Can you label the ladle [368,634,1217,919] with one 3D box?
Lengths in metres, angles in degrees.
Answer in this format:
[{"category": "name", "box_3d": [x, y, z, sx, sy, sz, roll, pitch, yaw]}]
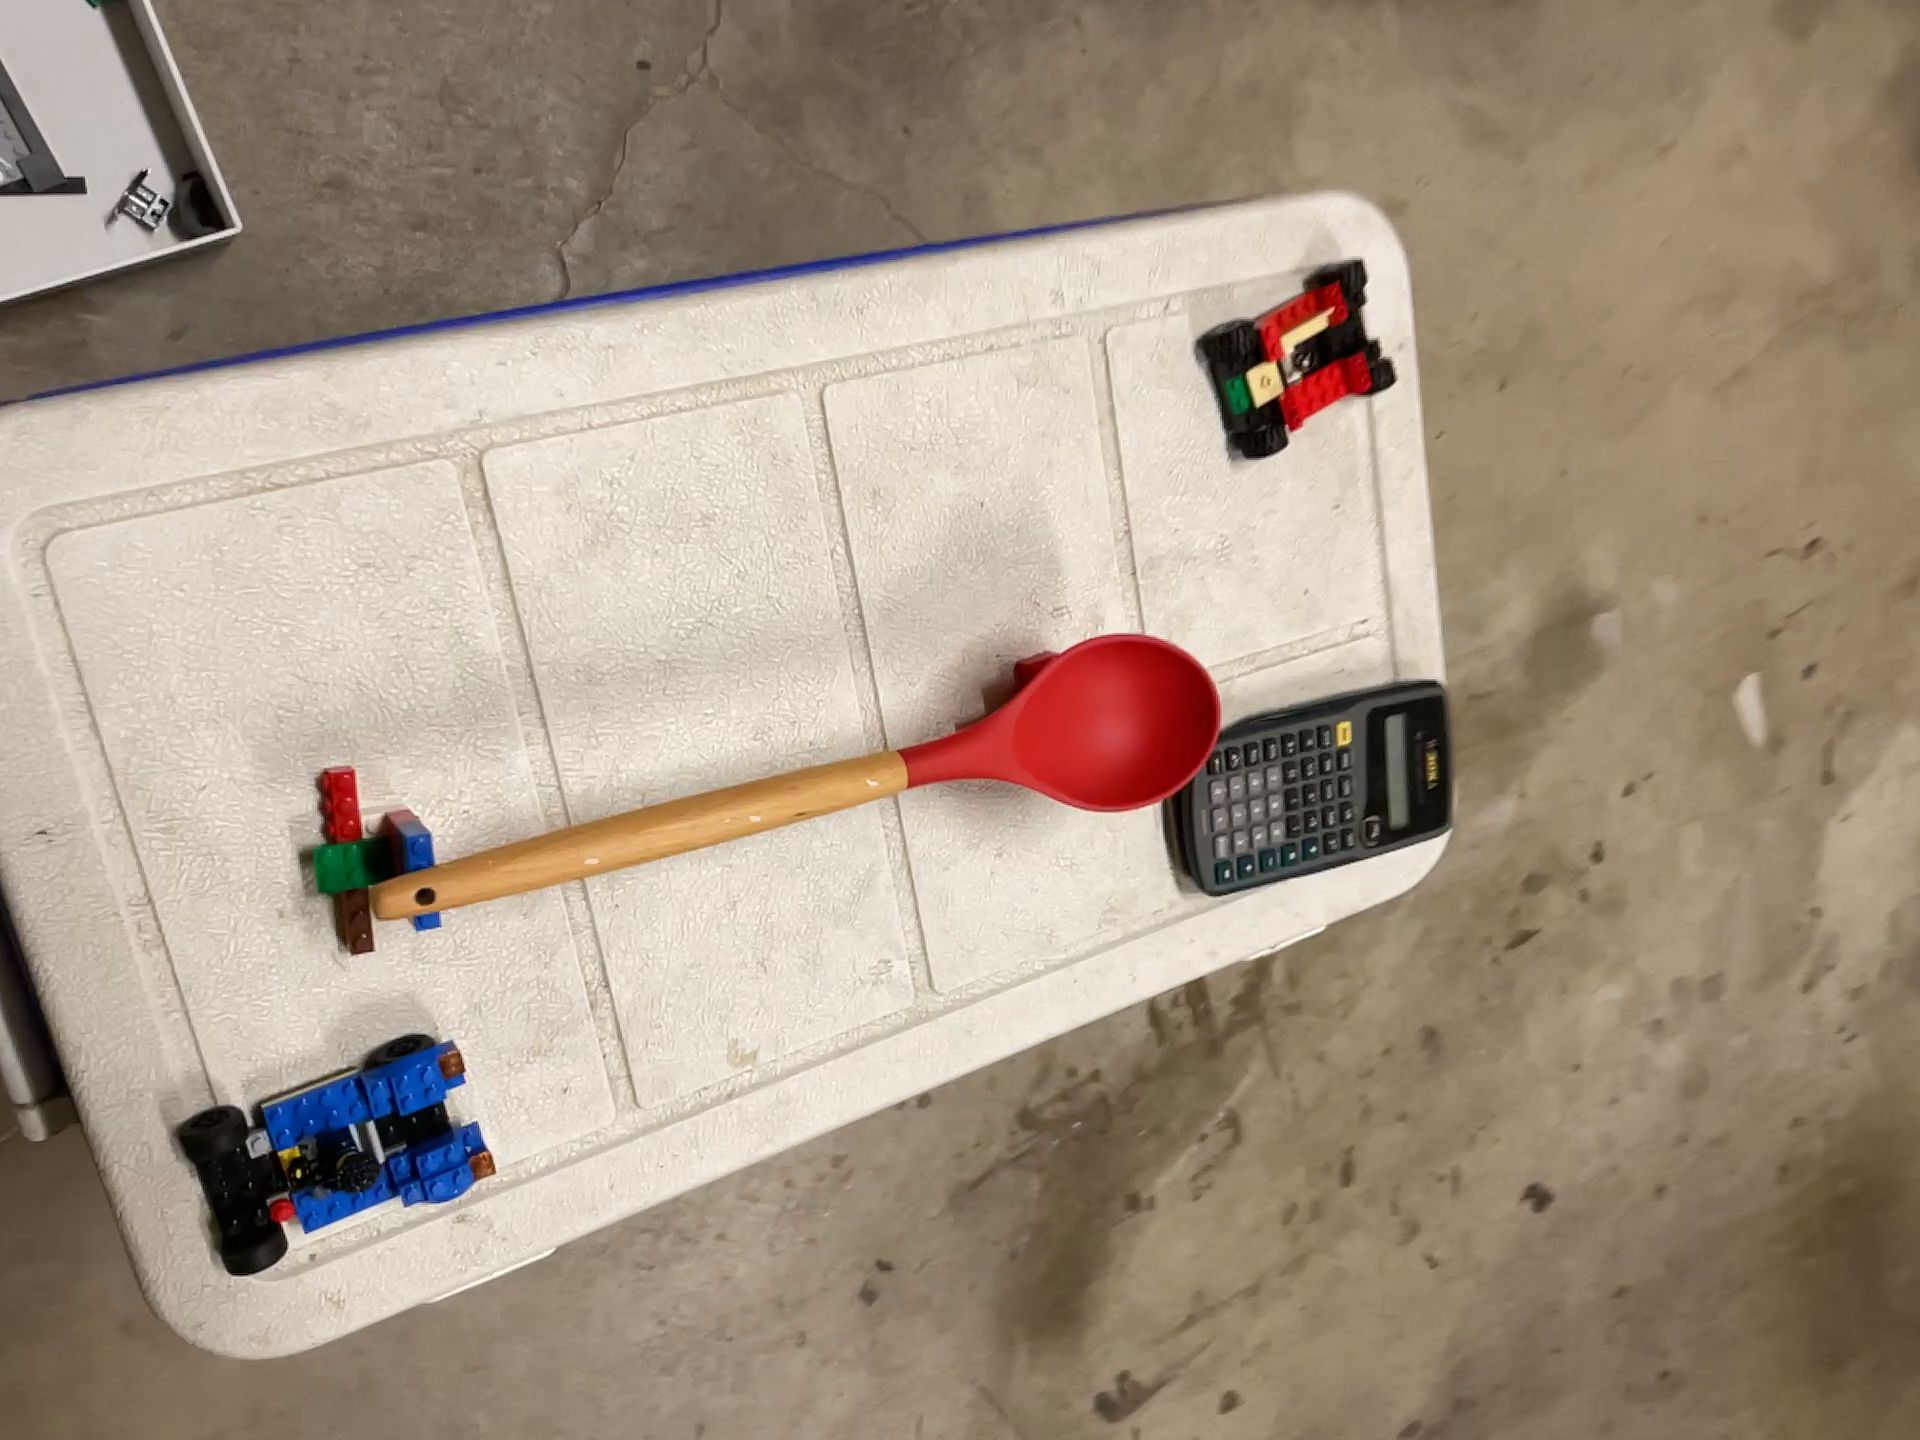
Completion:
[{"category": "ladle", "box_3d": [-0.046, 0.025, 0.567, 0.315, 0.031, 0.069, -13, 100, -26]}]
